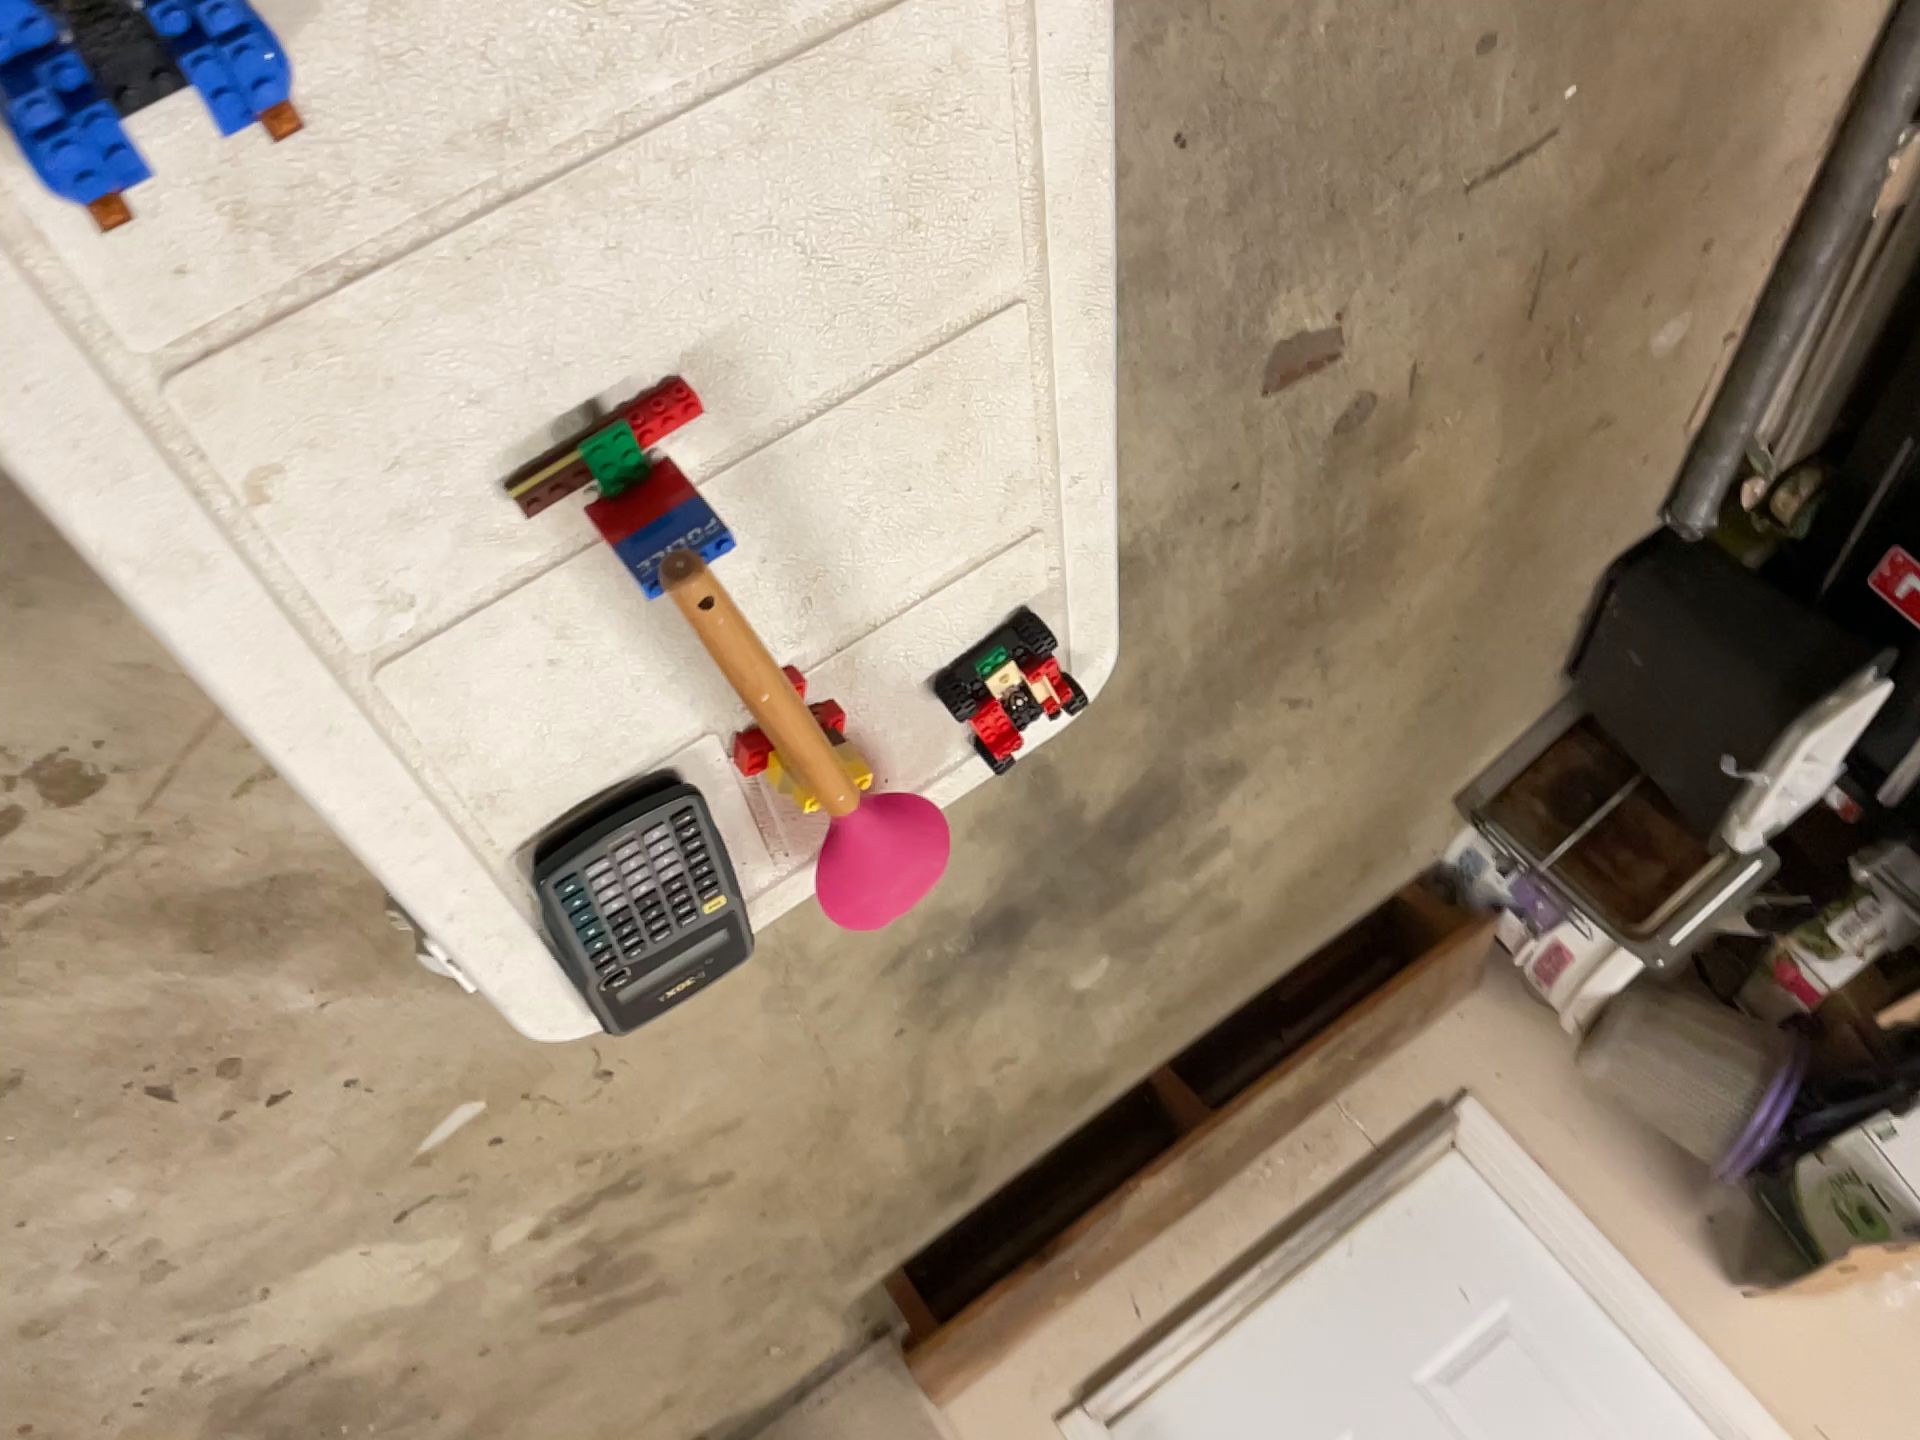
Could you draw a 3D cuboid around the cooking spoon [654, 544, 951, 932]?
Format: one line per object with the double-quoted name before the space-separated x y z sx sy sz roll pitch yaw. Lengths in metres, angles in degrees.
"cooking spoon" -0.052 0.020 0.606 0.069 0.017 0.318 -41 153 -8
